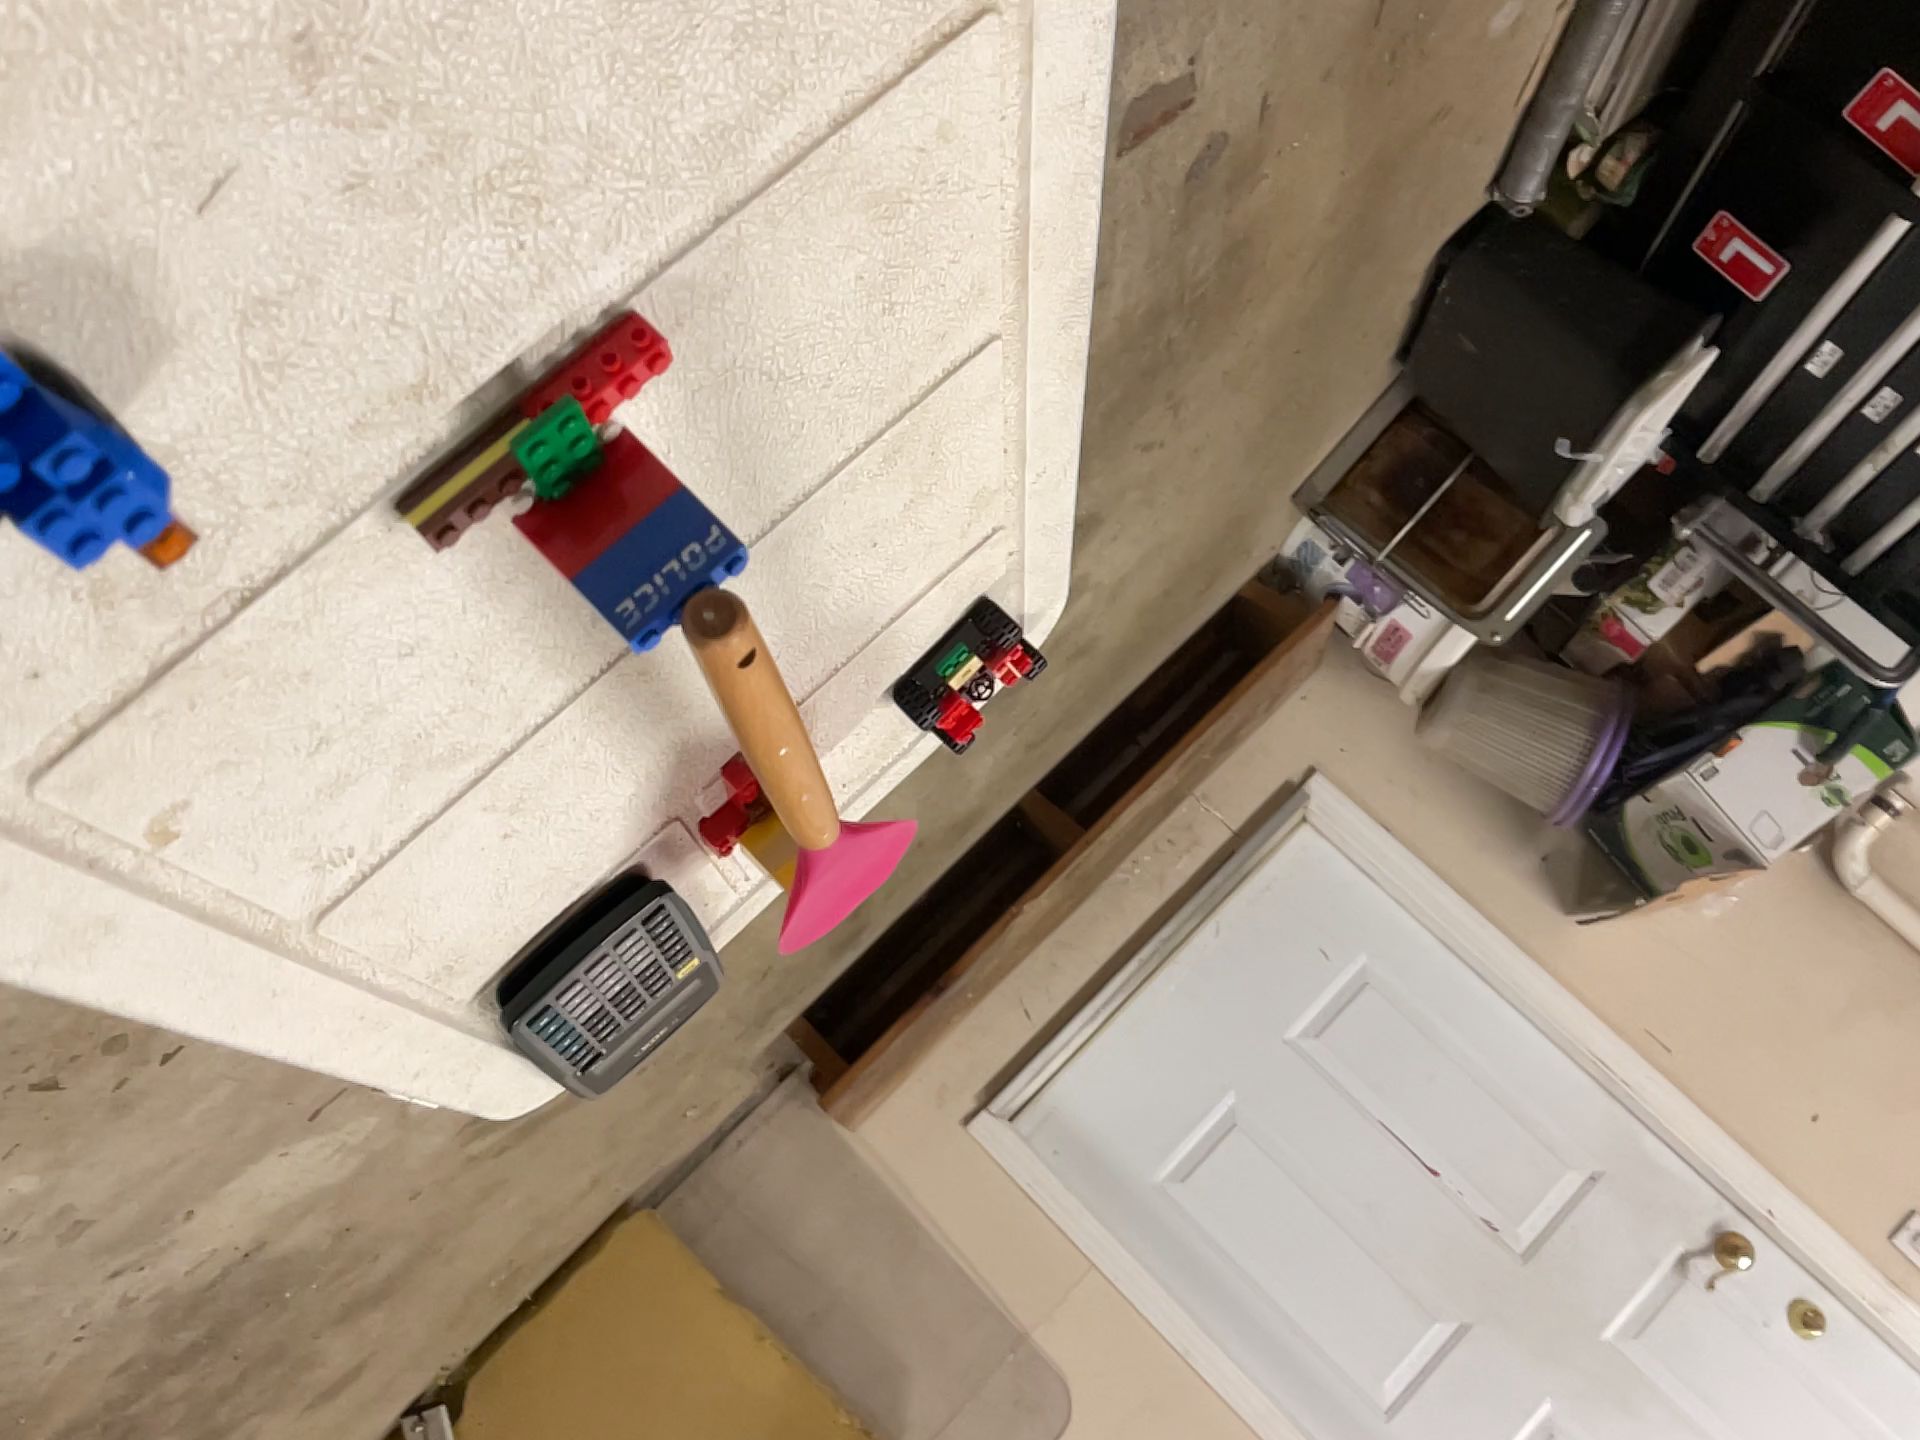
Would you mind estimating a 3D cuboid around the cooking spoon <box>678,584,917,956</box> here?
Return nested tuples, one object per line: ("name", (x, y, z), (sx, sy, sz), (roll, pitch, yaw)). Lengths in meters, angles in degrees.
("cooking spoon", (-0.046, 0.025, 0.475), (0.069, 0.017, 0.318), (-43, 167, -11))
